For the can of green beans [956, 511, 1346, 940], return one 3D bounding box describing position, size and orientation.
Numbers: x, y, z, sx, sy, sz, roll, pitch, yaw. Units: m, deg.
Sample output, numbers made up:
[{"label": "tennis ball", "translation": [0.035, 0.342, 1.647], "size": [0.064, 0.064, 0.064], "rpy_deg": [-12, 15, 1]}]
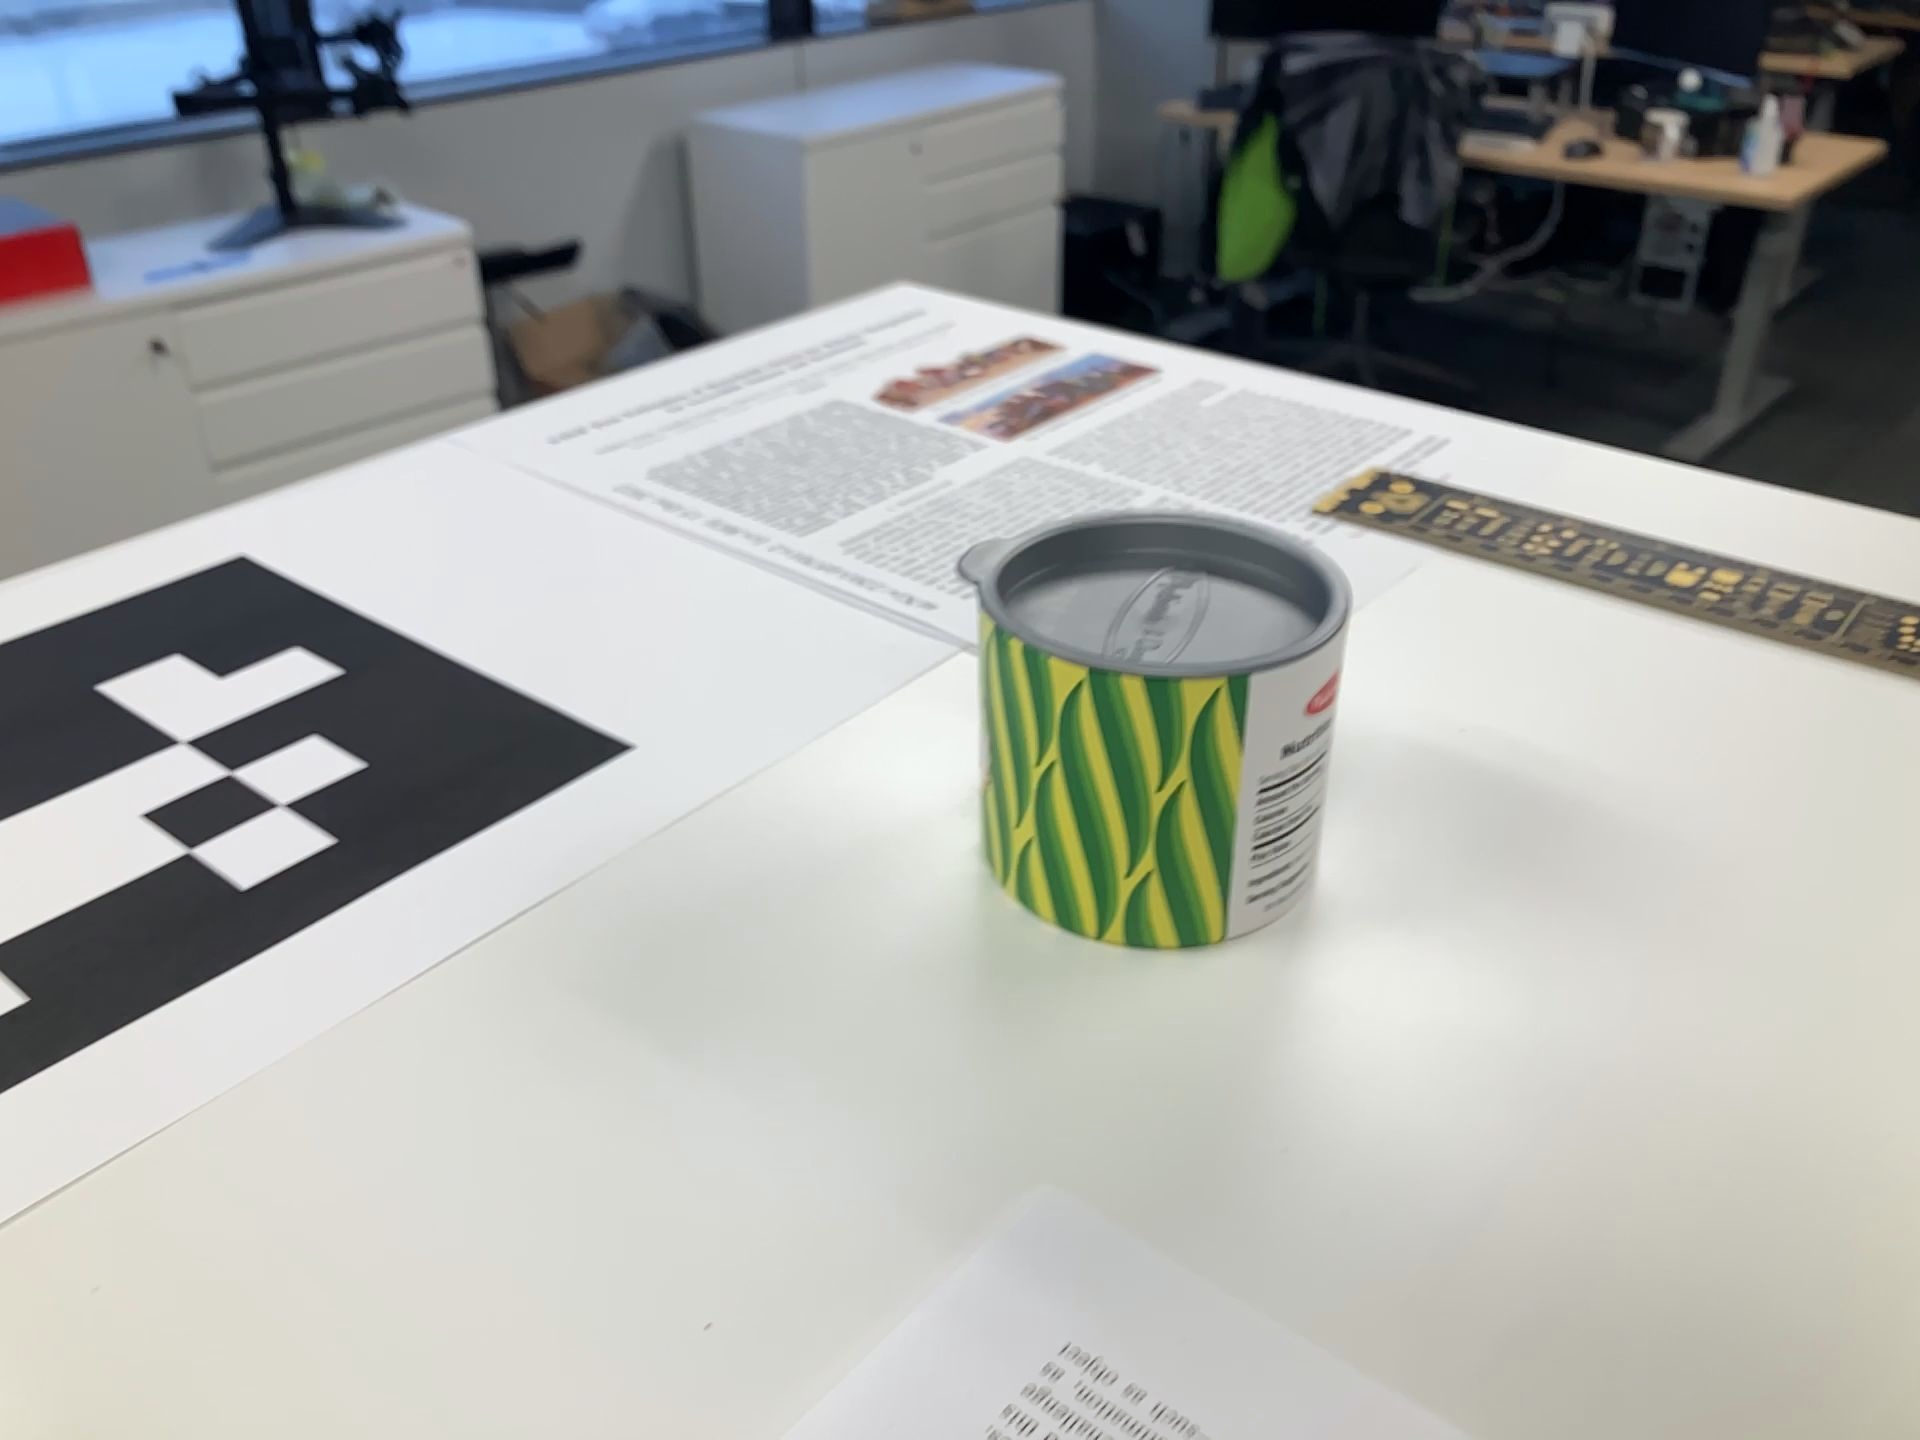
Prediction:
[{"label": "can of green beans", "translation": [0.036, 0.000, 0.304], "size": [0.071, 0.058, 0.071], "rpy_deg": [0, 30, 0]}]
